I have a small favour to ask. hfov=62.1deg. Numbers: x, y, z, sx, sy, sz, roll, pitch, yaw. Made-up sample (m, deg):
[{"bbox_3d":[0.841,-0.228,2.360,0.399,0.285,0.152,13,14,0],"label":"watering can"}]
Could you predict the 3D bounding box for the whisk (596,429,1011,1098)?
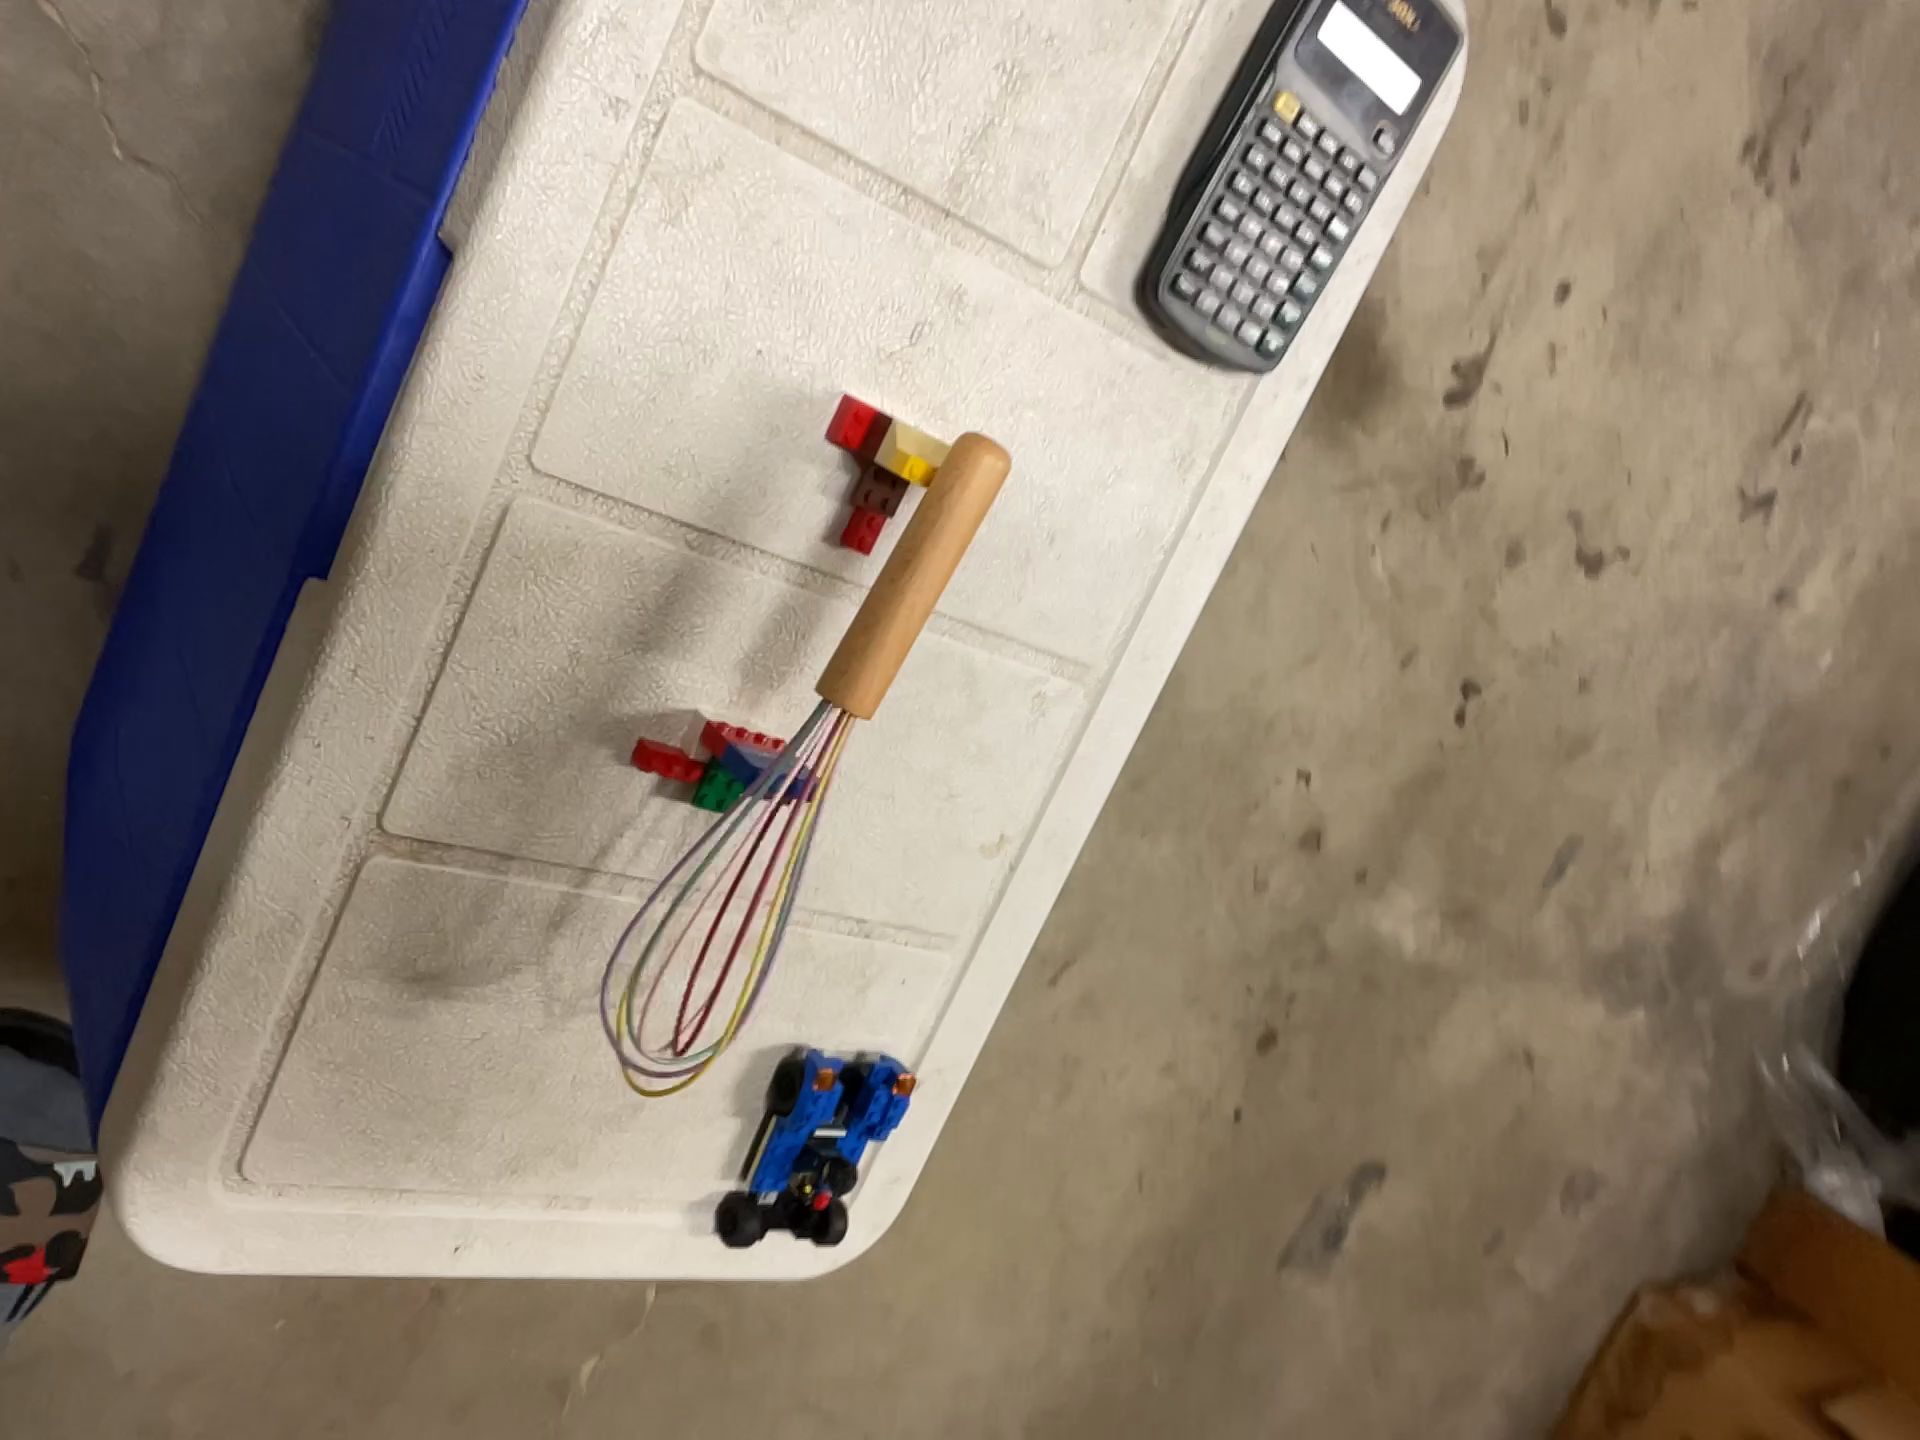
[{"bbox_3d":[-0.047,0.017,0.525,0.051,0.047,0.245,28,94,-27],"label":"whisk"}]
